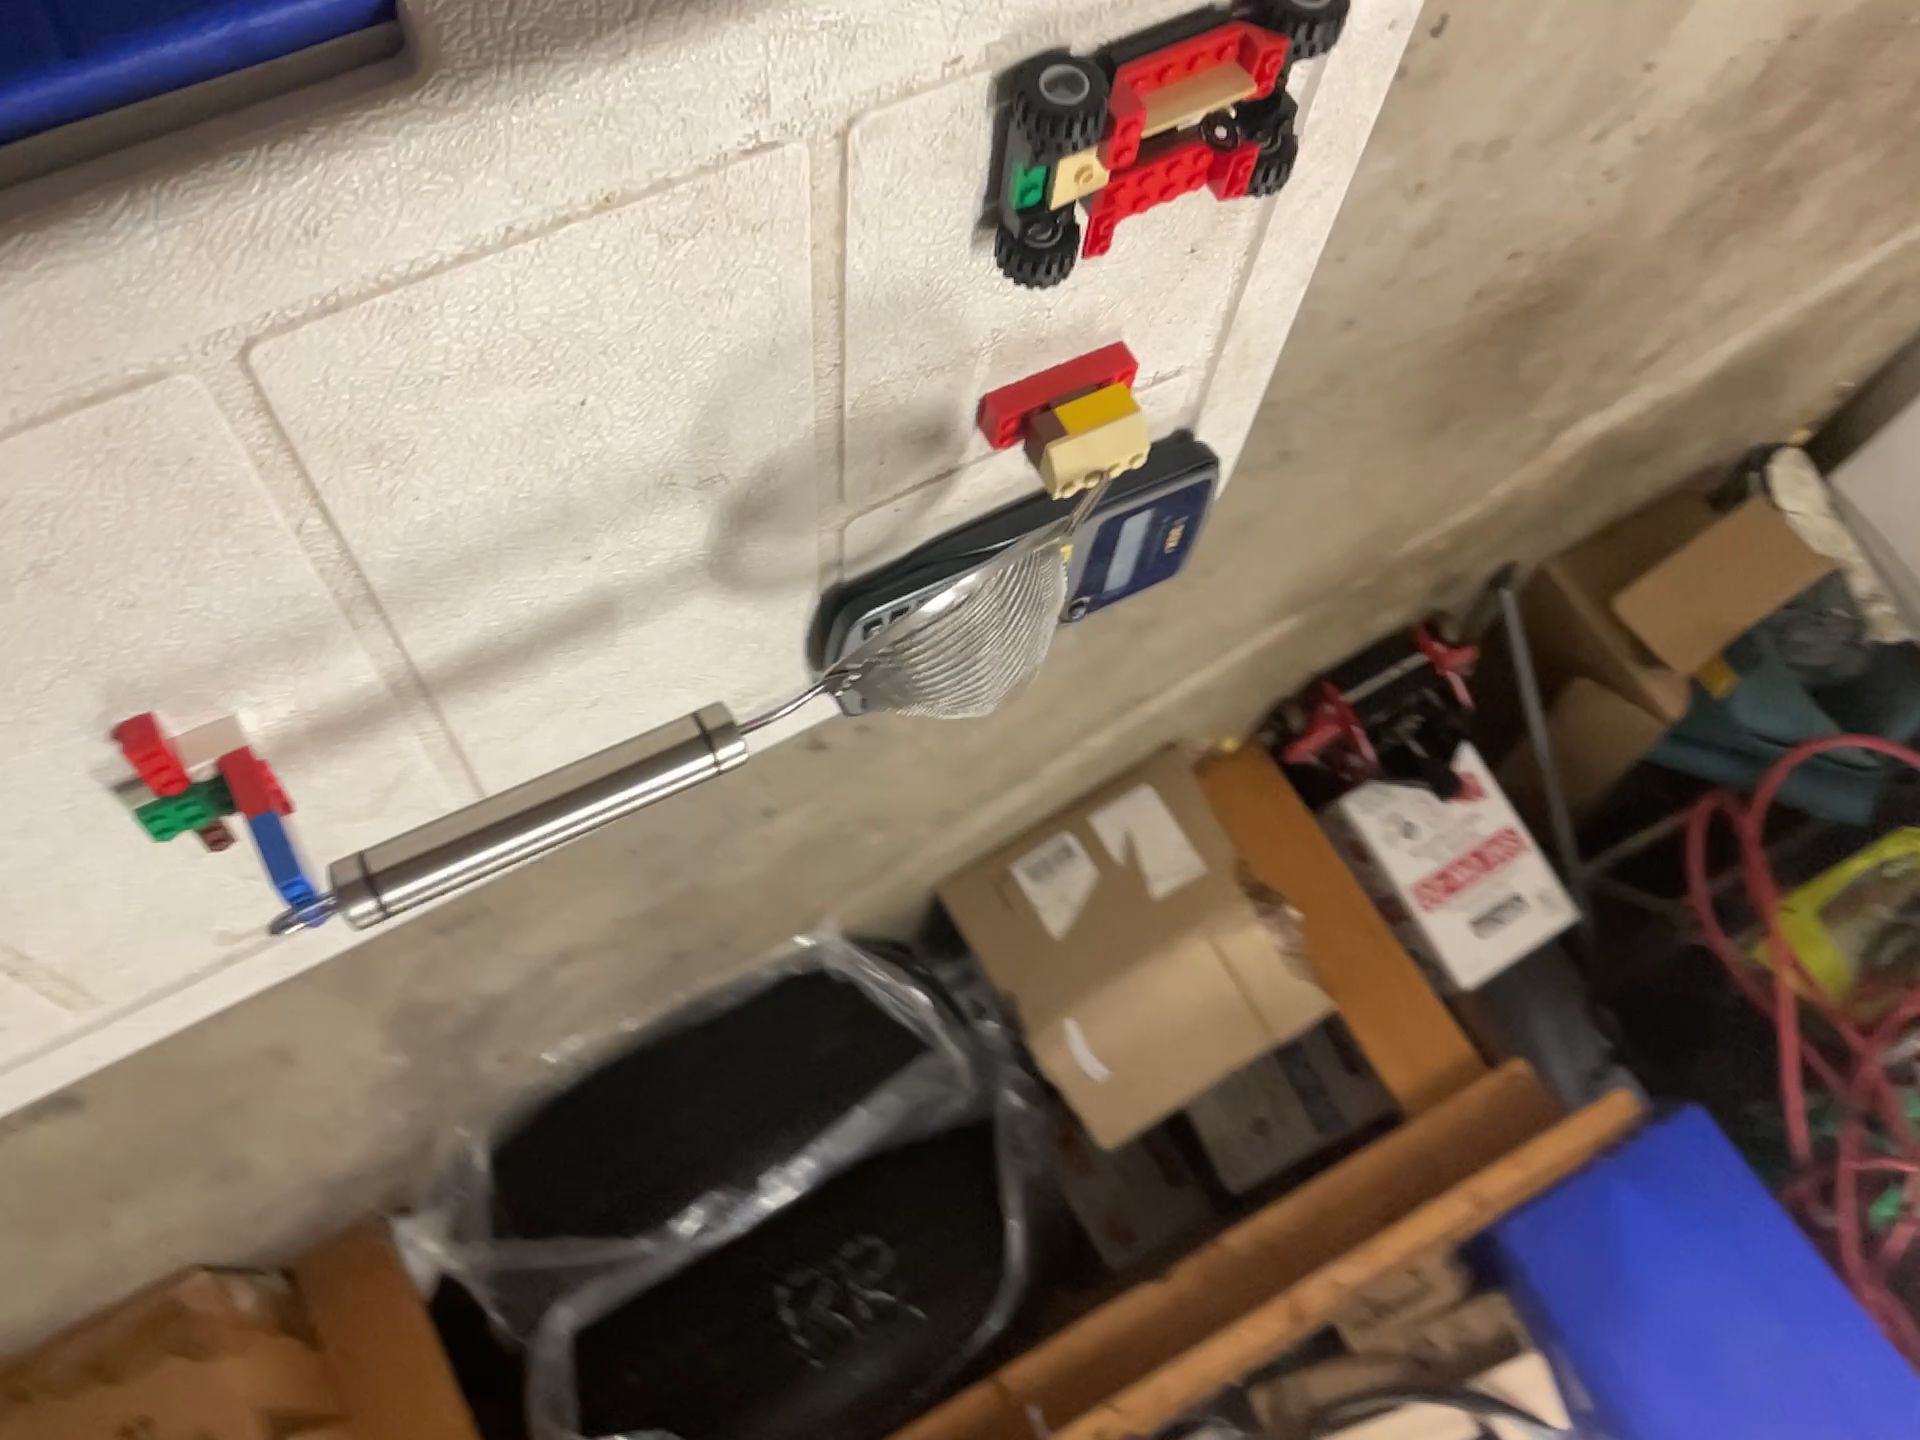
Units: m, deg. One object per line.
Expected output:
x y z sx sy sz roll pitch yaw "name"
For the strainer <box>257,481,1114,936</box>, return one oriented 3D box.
-0.060 0.003 0.432 0.258 0.050 0.087 -24 176 -15 "strainer"
